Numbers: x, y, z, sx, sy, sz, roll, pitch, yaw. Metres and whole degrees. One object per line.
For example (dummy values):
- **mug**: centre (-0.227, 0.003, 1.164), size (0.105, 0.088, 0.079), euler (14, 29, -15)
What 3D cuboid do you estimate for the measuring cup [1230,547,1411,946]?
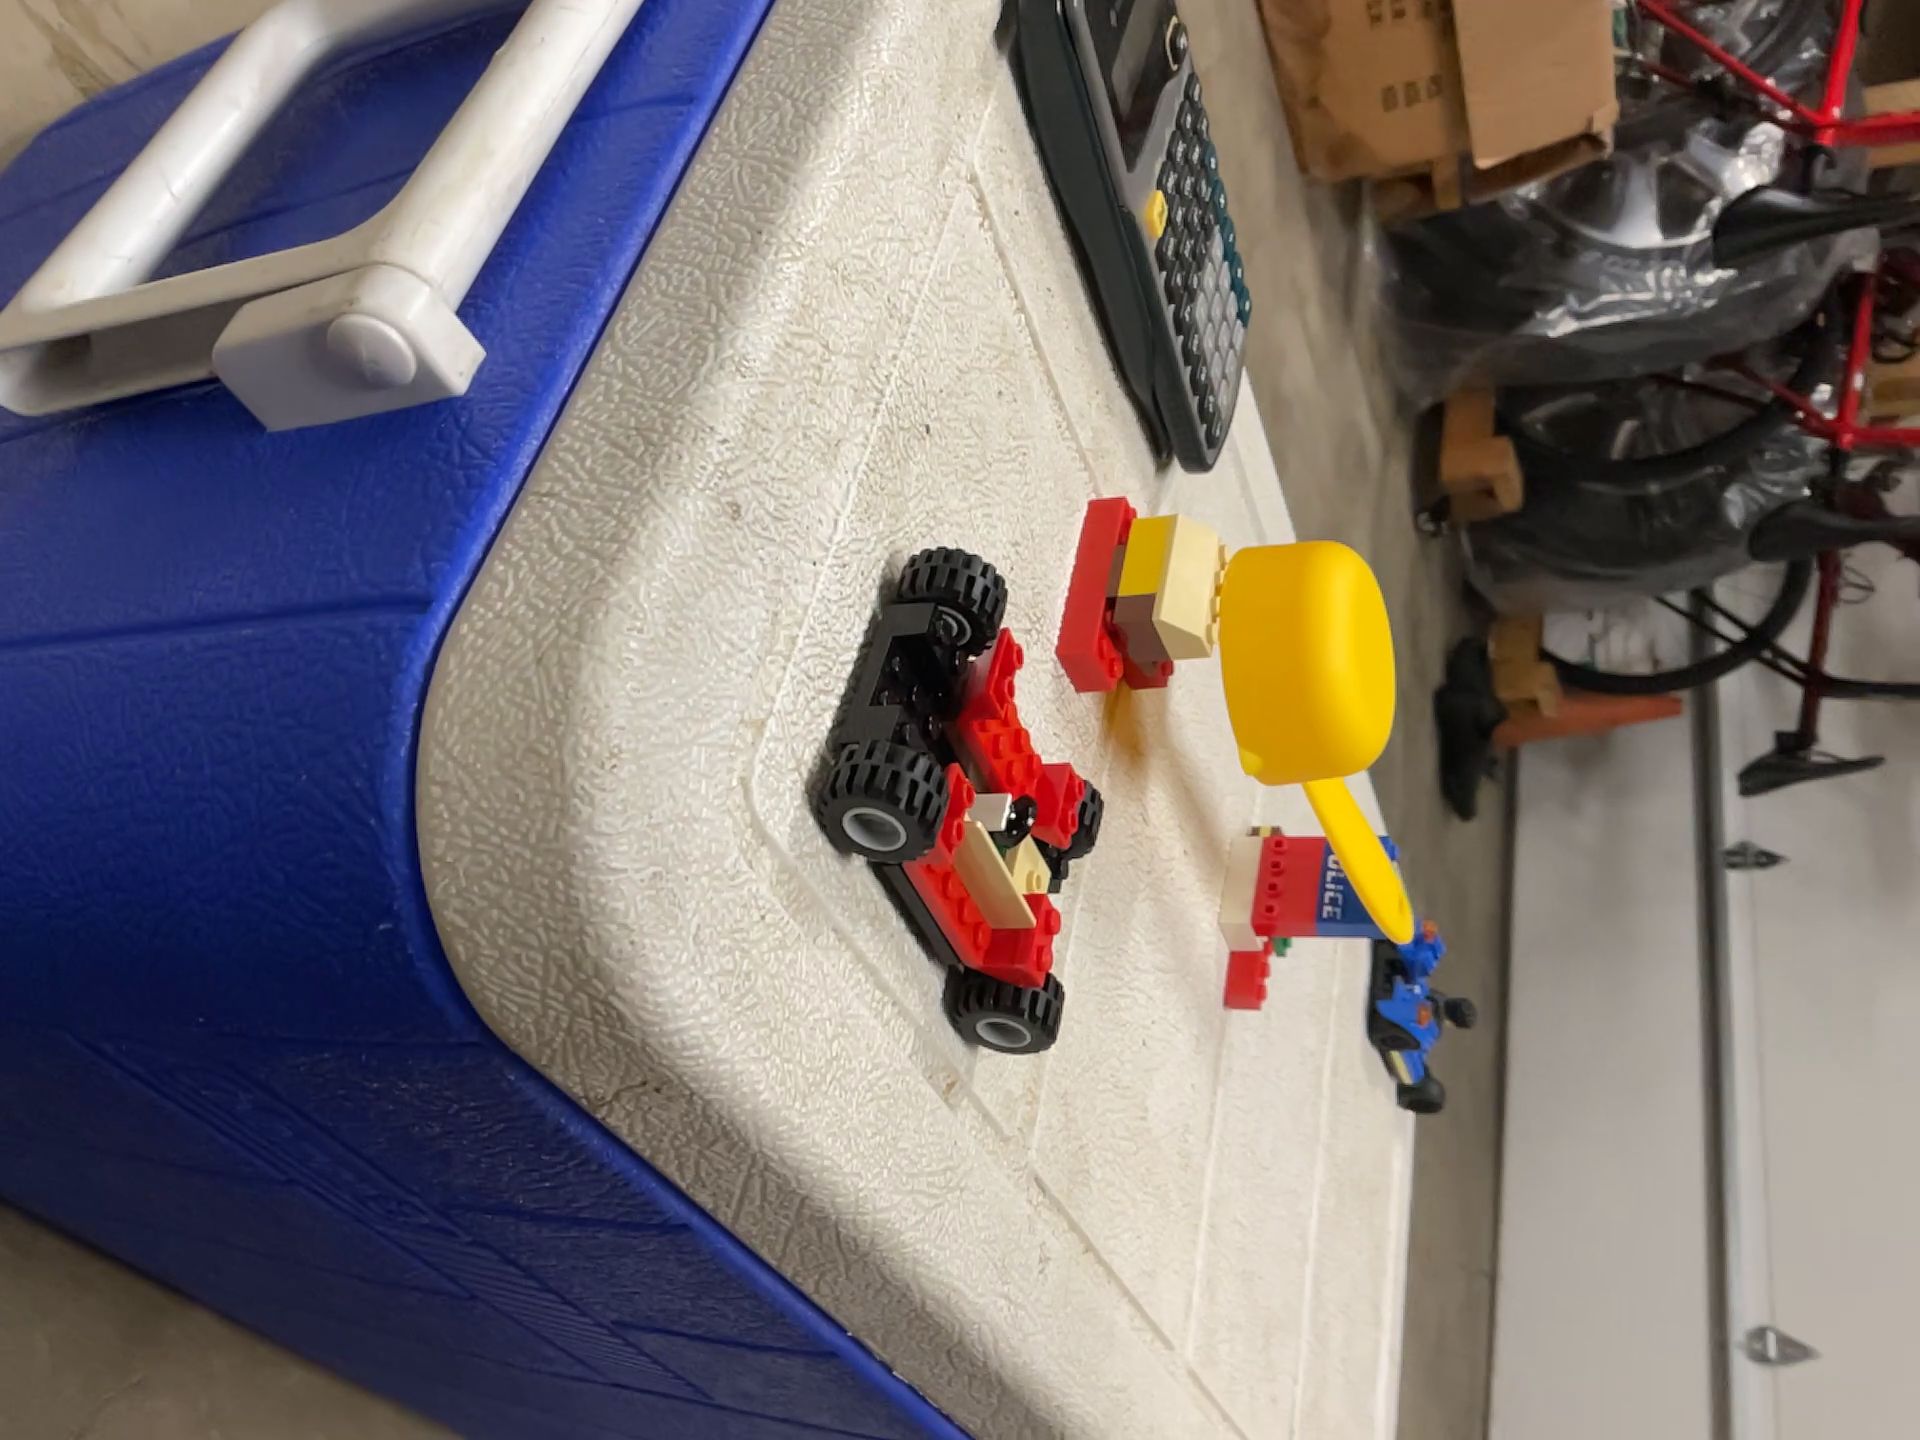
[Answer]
- **measuring cup**: centre (0.109, 0.015, 0.427), size (0.156, 0.029, 0.062), euler (54, 40, -41)
